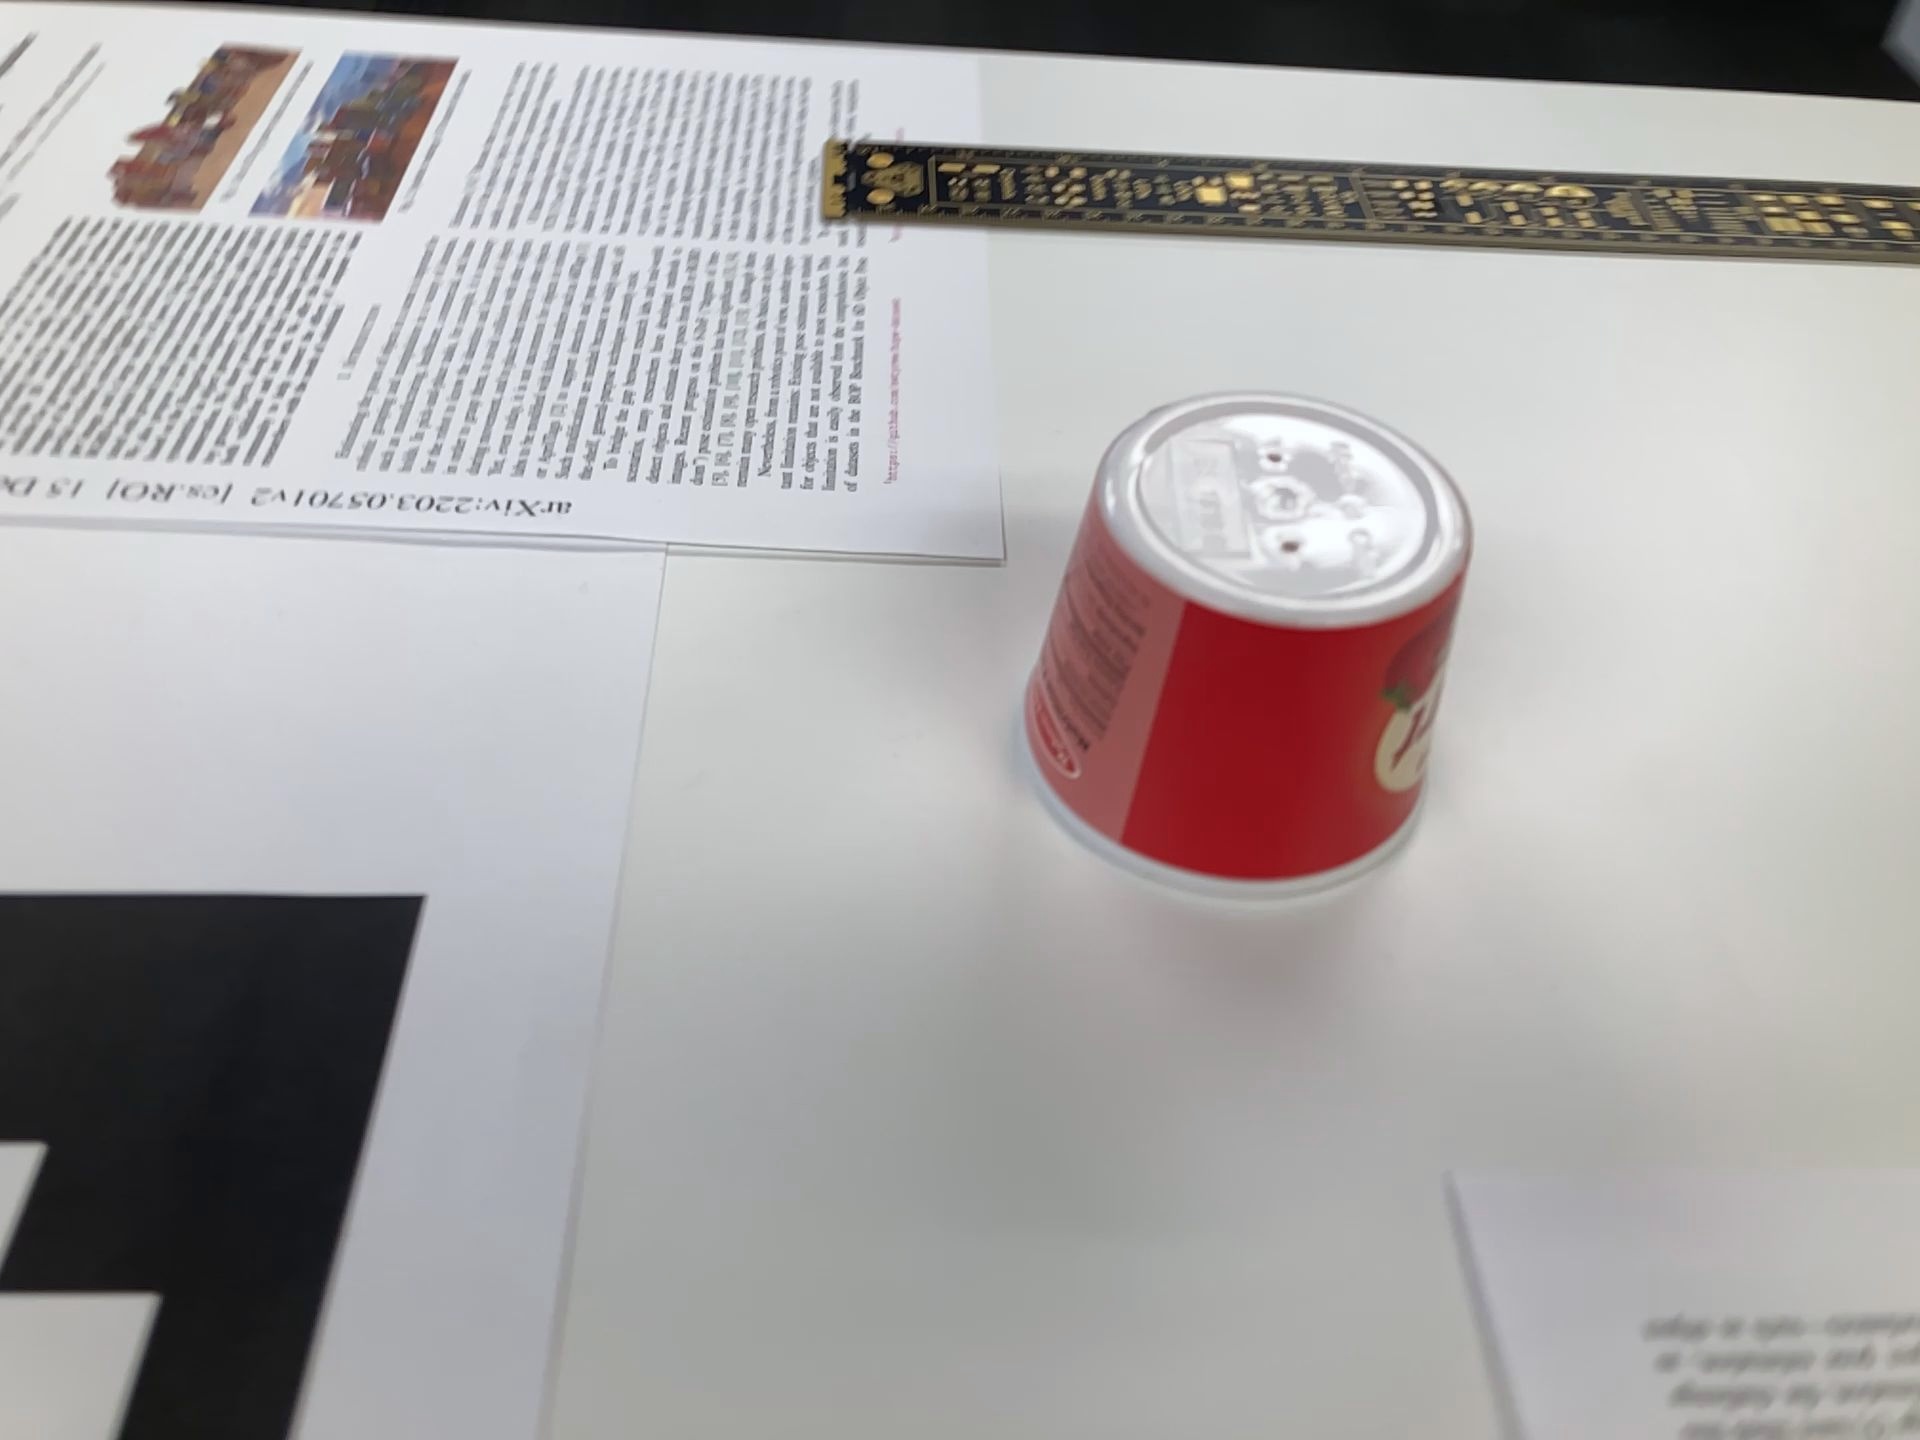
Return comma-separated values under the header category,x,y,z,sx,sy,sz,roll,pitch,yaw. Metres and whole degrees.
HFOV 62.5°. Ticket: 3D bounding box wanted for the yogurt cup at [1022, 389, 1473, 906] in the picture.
category,x,y,z,sx,sy,sz,roll,pitch,yaw
yogurt cup,0.046,-0.015,0.249,0.072,0.054,0.072,2,47,-2
